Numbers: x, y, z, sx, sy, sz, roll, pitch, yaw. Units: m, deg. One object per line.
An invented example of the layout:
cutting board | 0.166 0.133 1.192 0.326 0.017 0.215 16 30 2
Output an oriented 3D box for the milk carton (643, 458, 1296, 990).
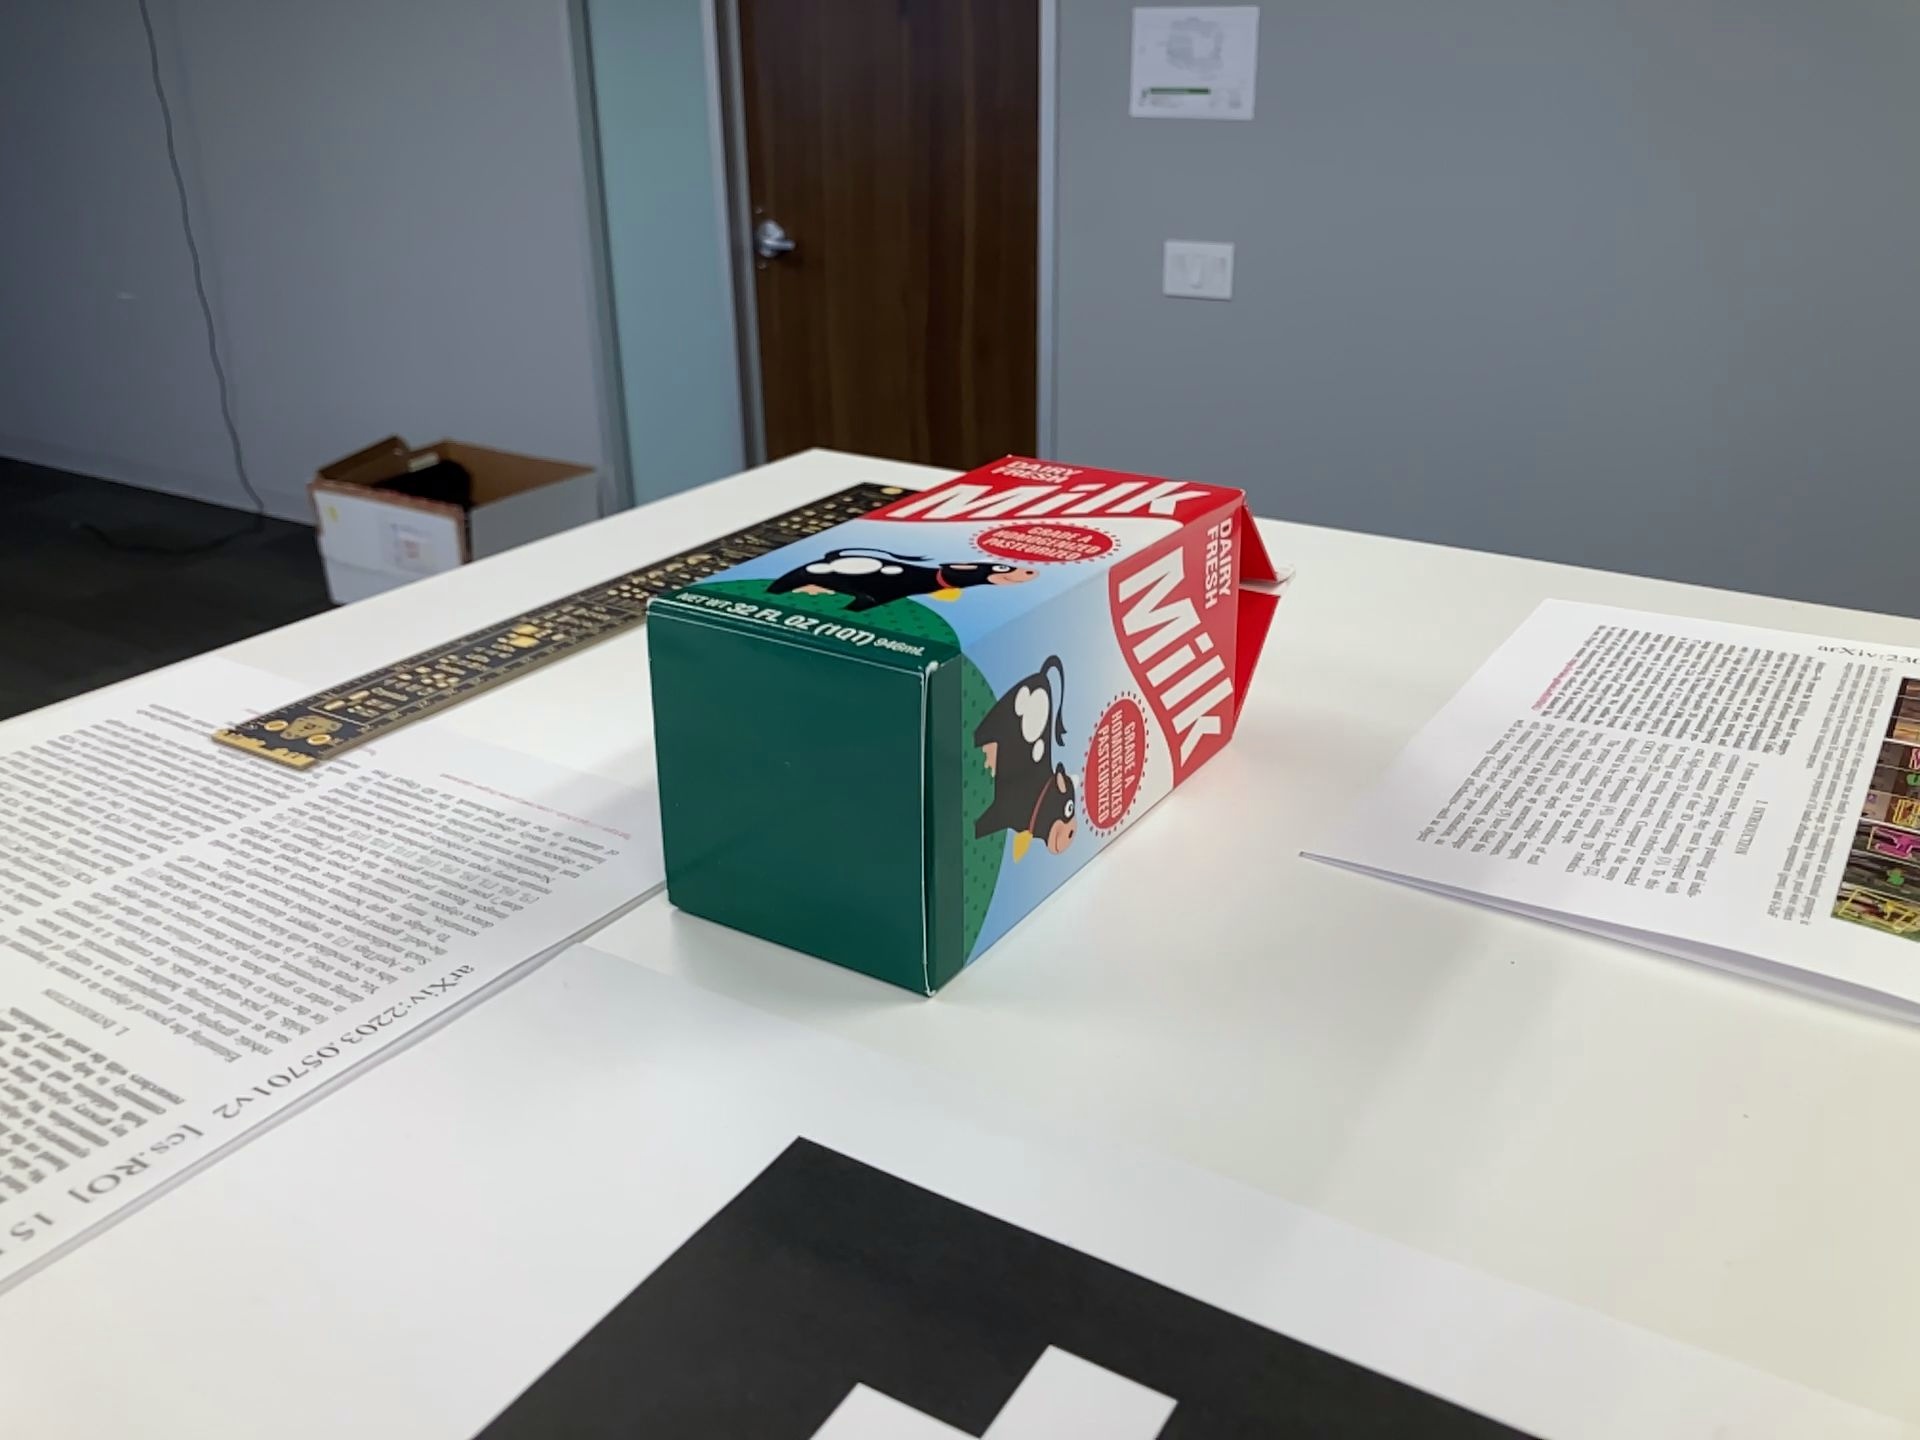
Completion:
milk carton | 0.015 -0.016 0.391 0.072 0.073 0.190 13 26 30
